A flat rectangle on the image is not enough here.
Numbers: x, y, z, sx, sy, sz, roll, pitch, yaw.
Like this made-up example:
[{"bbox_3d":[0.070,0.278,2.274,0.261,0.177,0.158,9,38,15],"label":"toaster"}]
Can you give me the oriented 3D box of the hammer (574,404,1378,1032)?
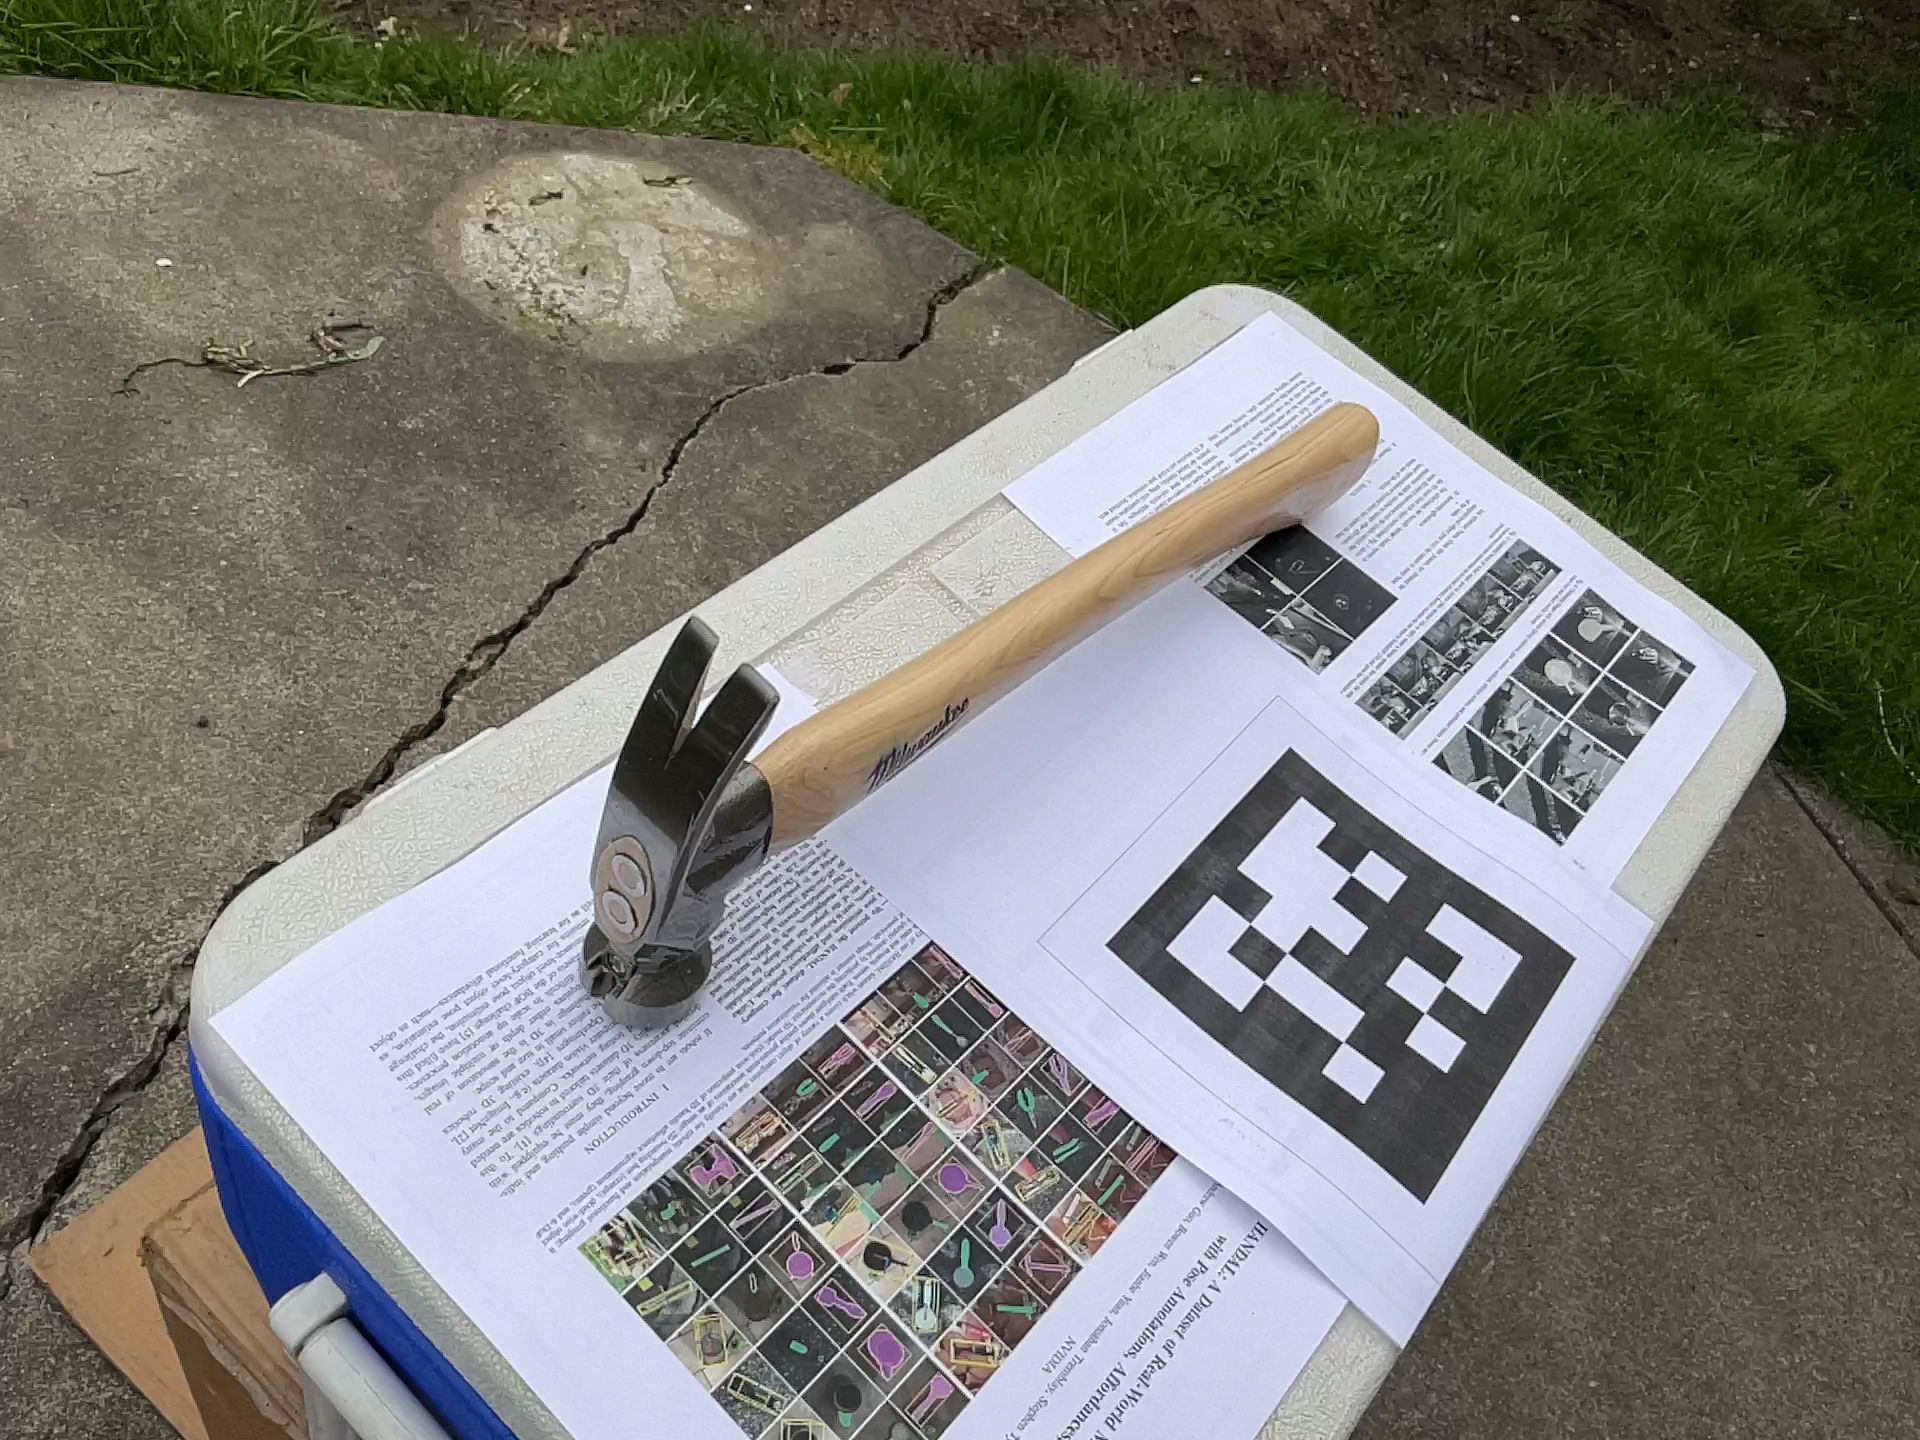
[{"bbox_3d":[0.042,-0.045,0.551,0.038,0.146,0.410,42,47,16],"label":"hammer"}]
